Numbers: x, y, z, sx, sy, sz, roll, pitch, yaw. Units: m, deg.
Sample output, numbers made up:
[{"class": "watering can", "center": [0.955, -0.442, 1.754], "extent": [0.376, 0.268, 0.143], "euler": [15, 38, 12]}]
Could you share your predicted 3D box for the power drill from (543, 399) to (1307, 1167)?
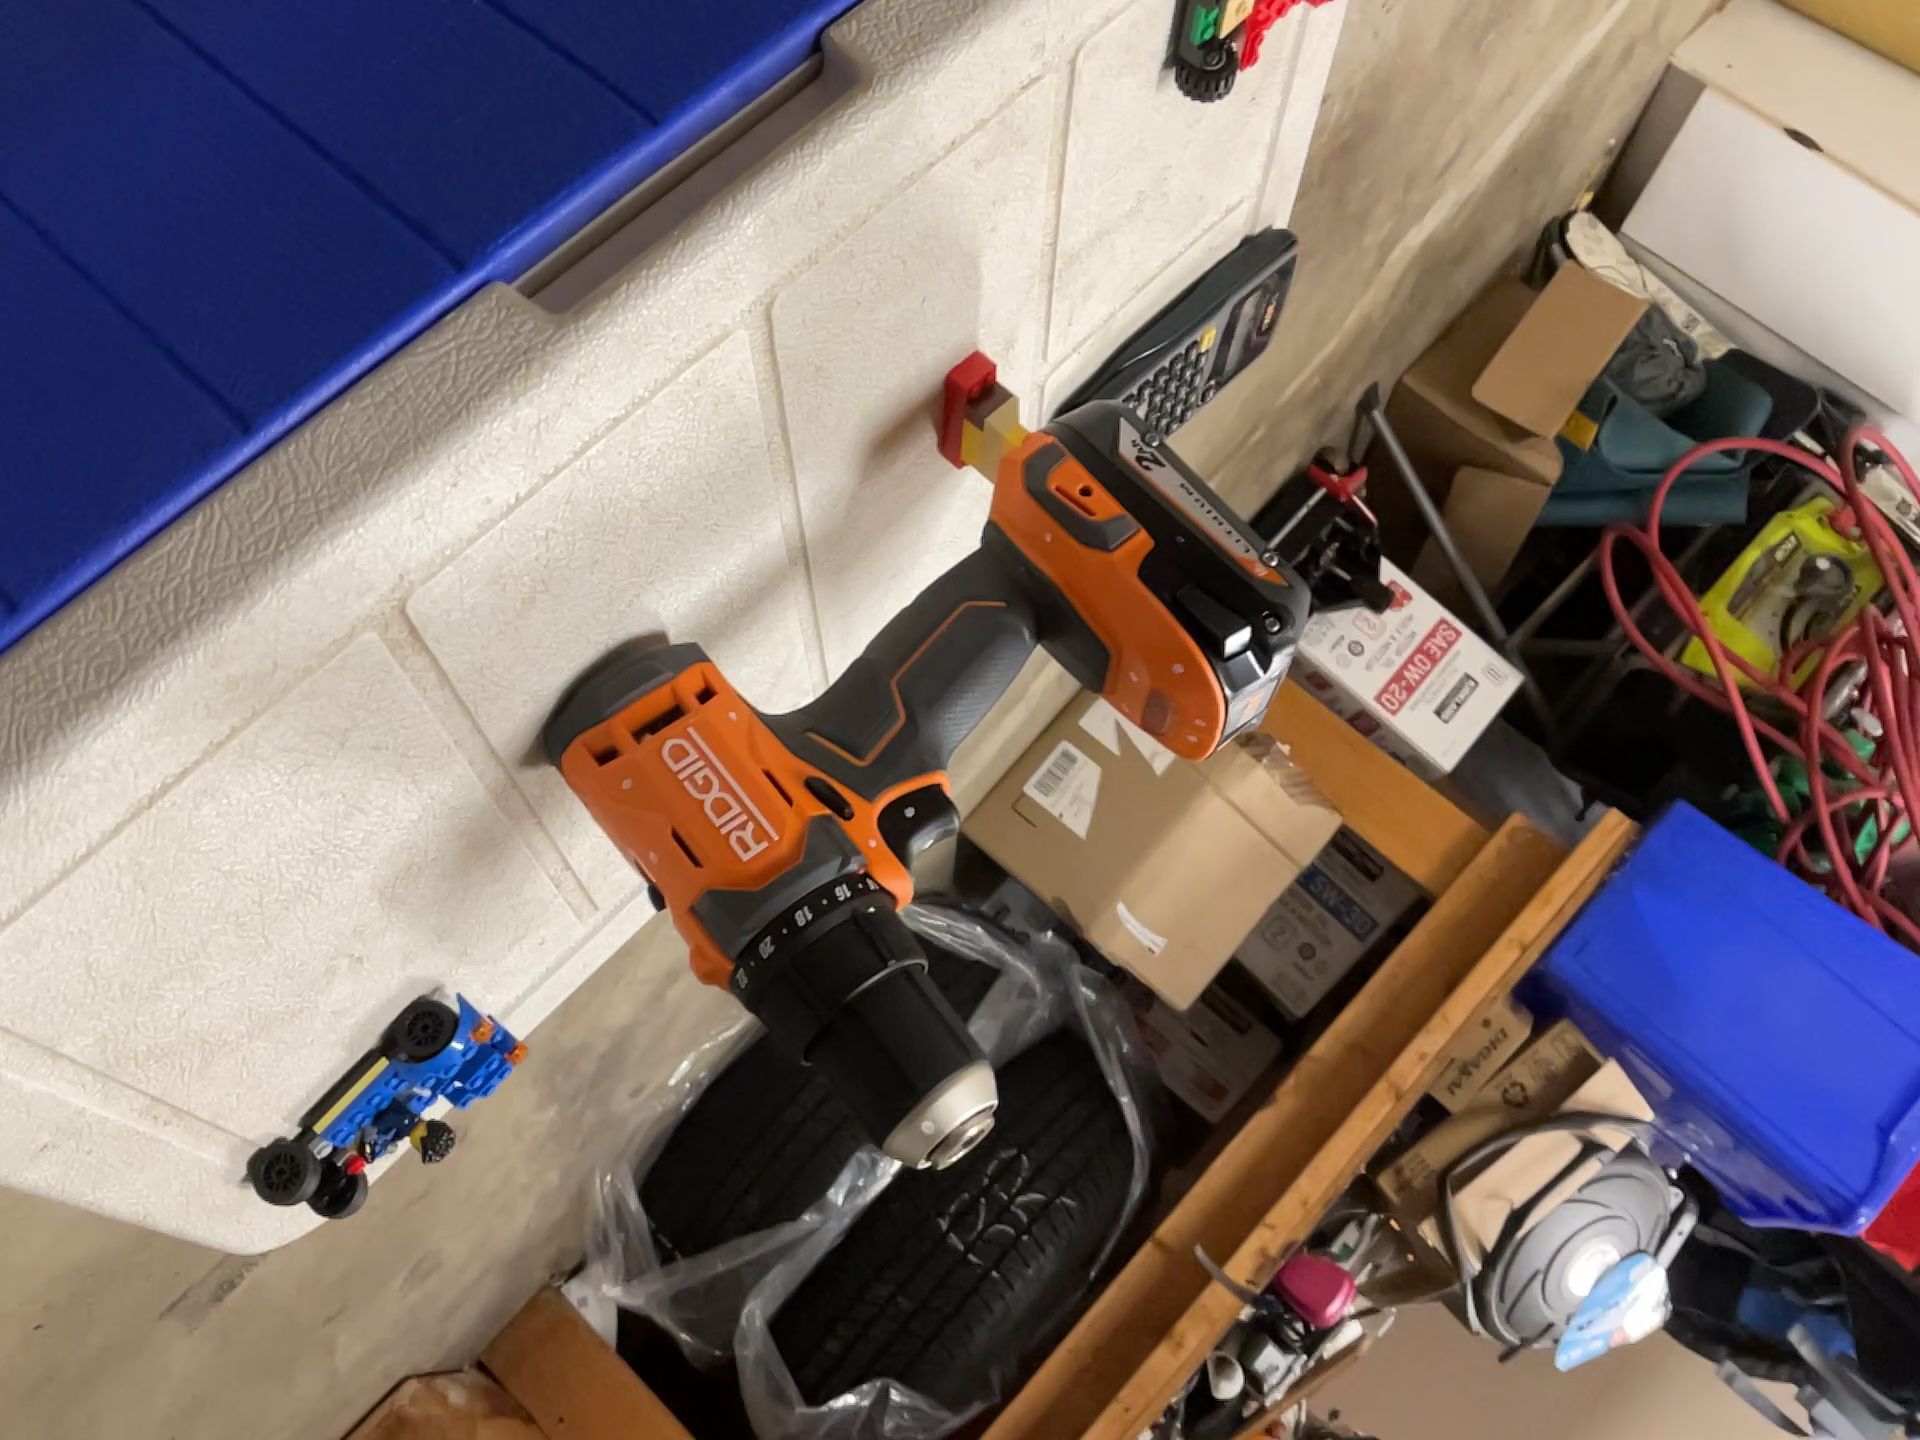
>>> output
[{"class": "power drill", "center": [0.007, 0.014, 0.516], "extent": [0.226, 0.185, 0.084], "euler": [-34, 158, -18]}]
